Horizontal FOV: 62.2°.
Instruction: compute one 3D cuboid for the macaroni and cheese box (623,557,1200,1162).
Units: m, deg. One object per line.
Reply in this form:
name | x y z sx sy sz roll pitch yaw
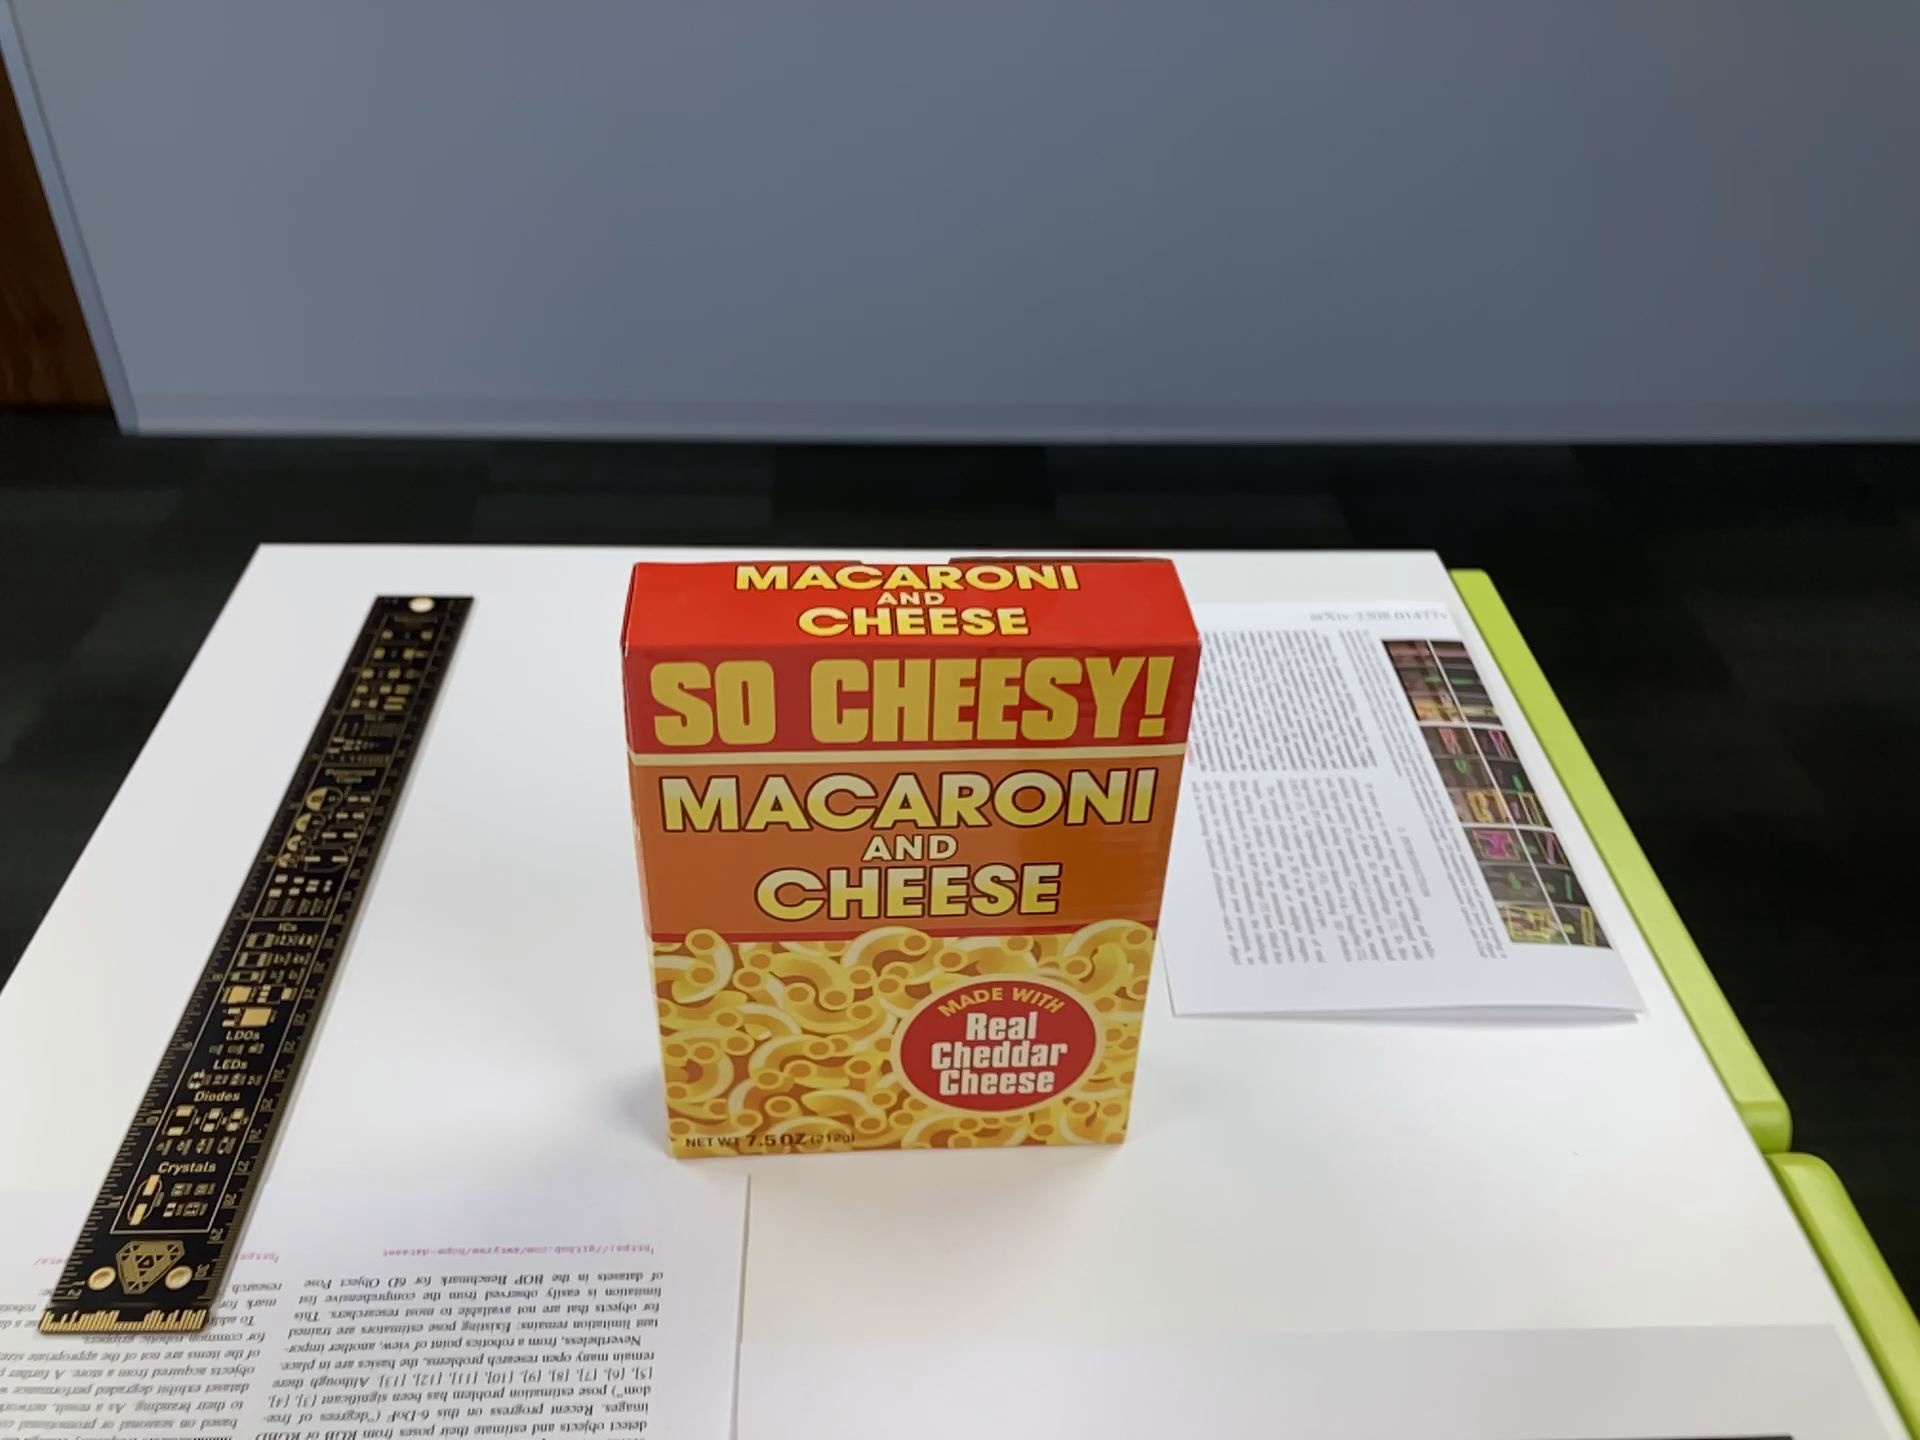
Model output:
macaroni and cheese box | -0.014 0.039 0.394 0.124 0.166 0.040 -2 37 -6
